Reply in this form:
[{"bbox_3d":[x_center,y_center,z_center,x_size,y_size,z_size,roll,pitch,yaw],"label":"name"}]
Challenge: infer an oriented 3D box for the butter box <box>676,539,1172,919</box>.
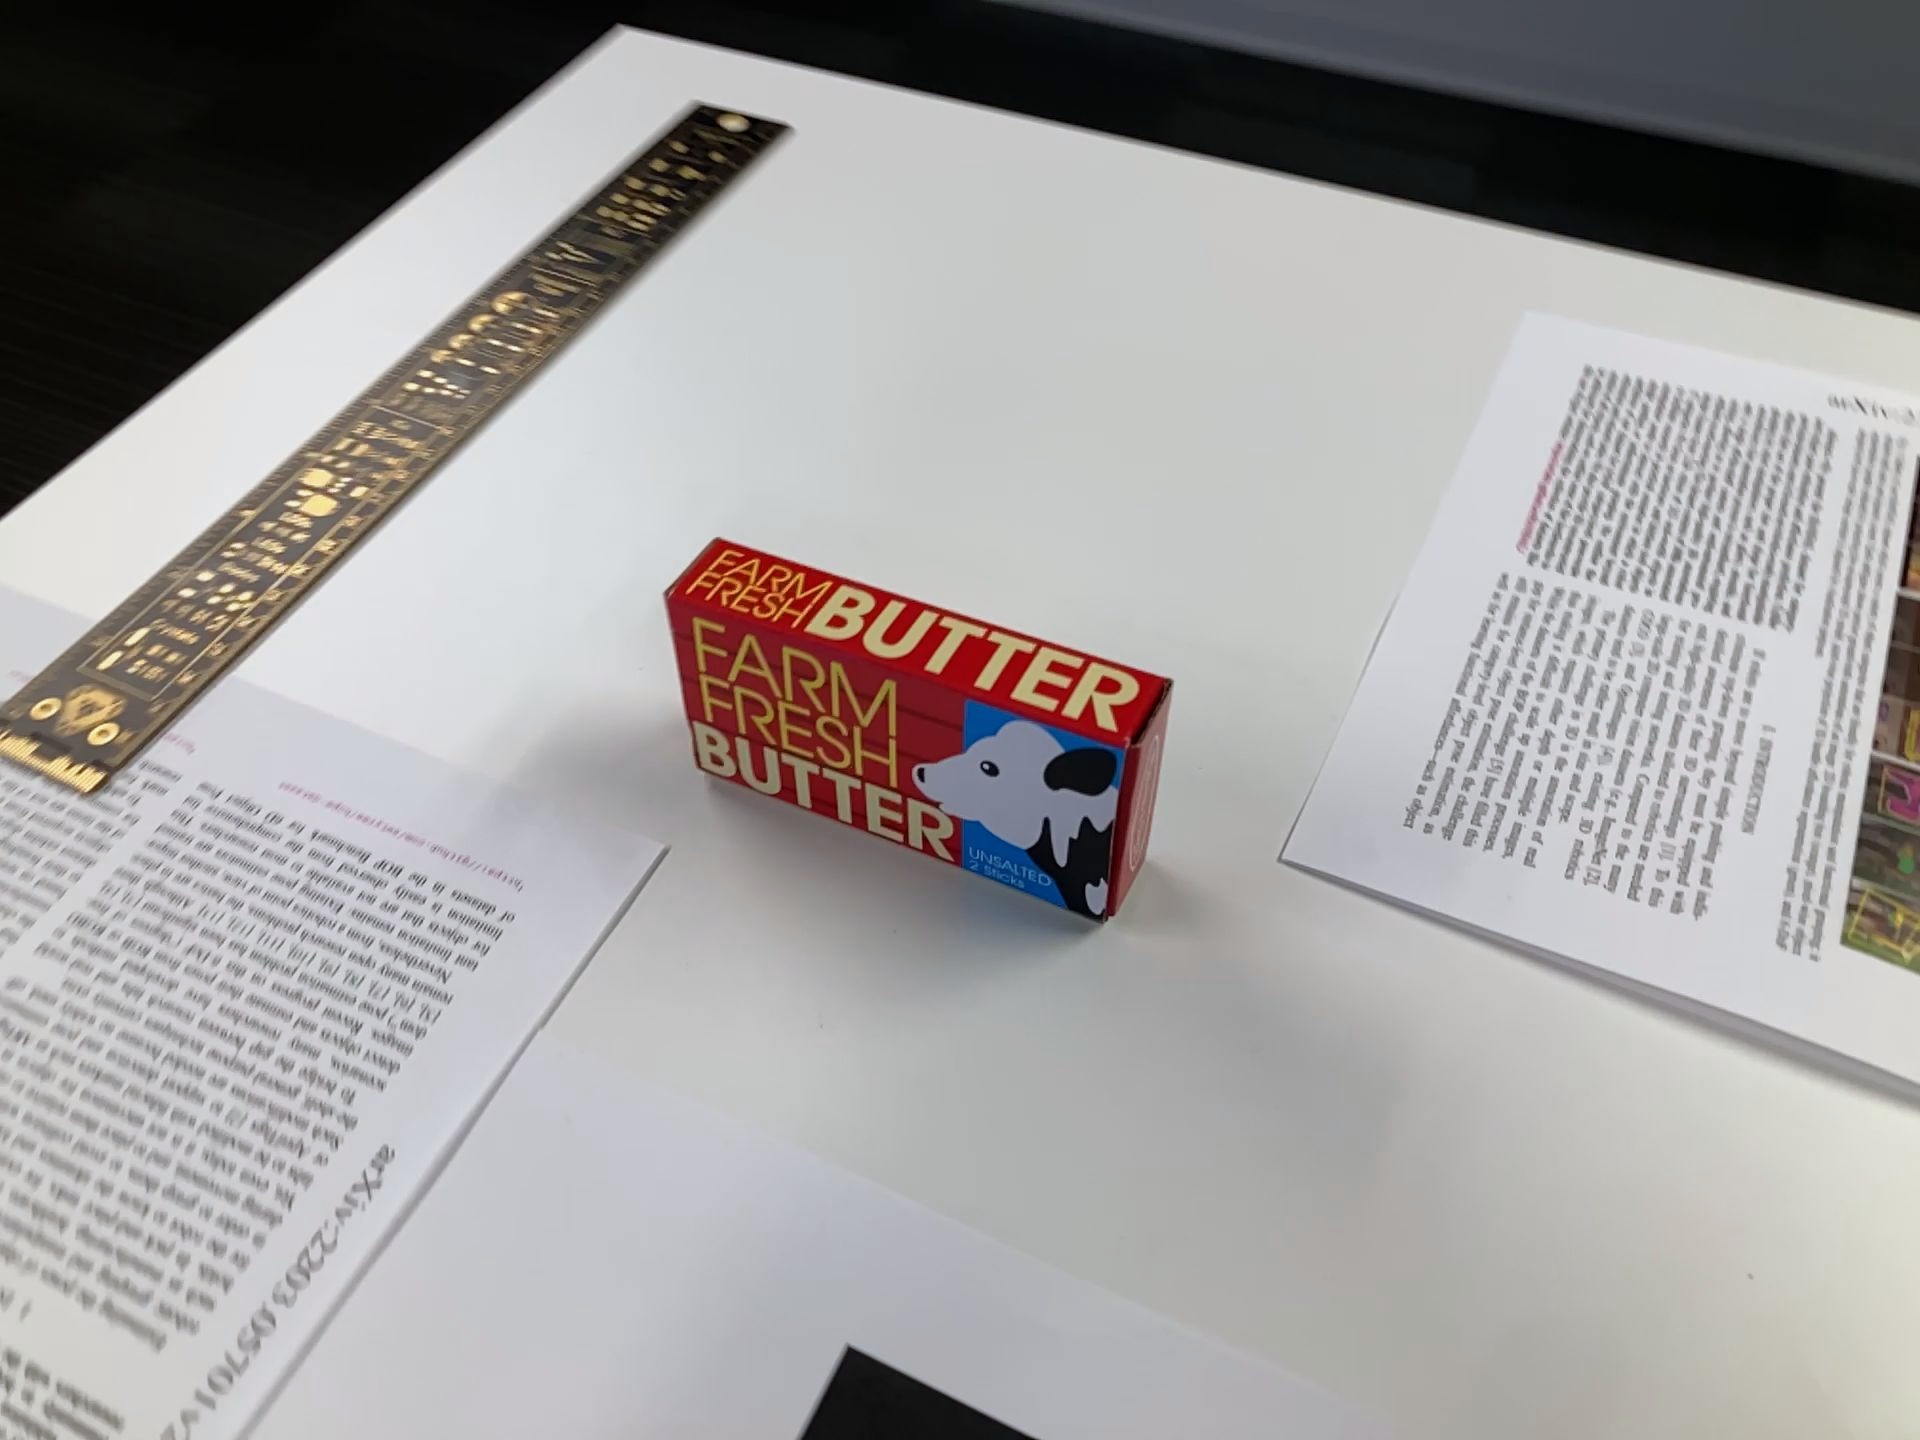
[{"bbox_3d":[-0.010,0.001,0.335,0.103,0.053,0.024,19,48,17],"label":"butter box"}]
